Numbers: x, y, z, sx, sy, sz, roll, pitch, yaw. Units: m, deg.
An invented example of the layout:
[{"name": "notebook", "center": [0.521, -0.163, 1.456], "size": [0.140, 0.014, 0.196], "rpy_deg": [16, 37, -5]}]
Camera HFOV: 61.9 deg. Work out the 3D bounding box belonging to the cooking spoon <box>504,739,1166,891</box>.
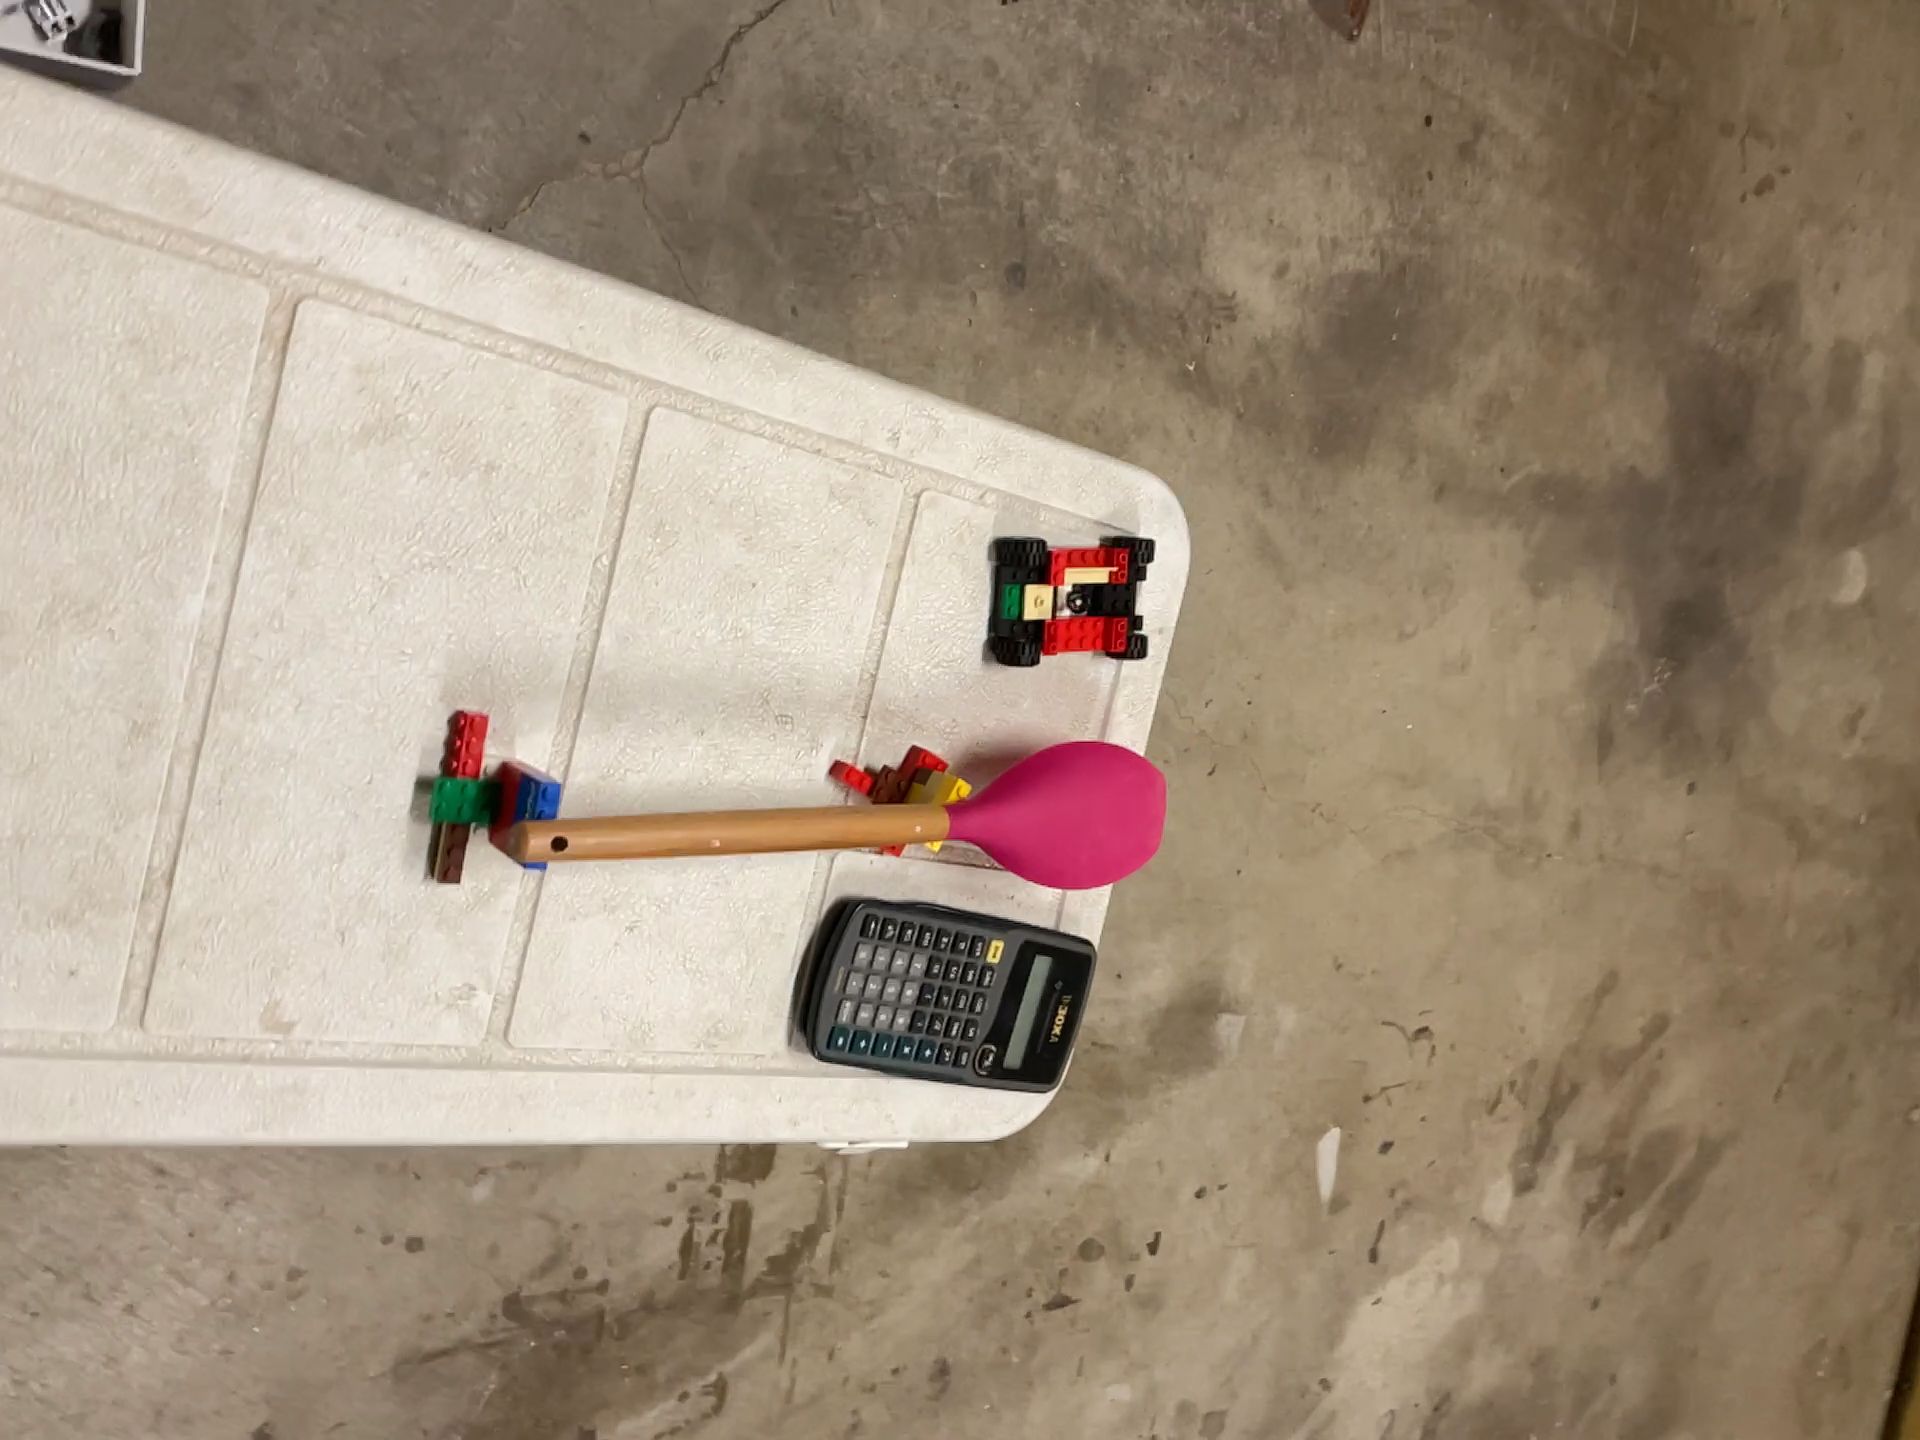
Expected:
[{"name": "cooking spoon", "center": [-0.030, 0.043, 0.650], "size": [0.319, 0.017, 0.069], "rpy_deg": [0, 96, -37]}]
